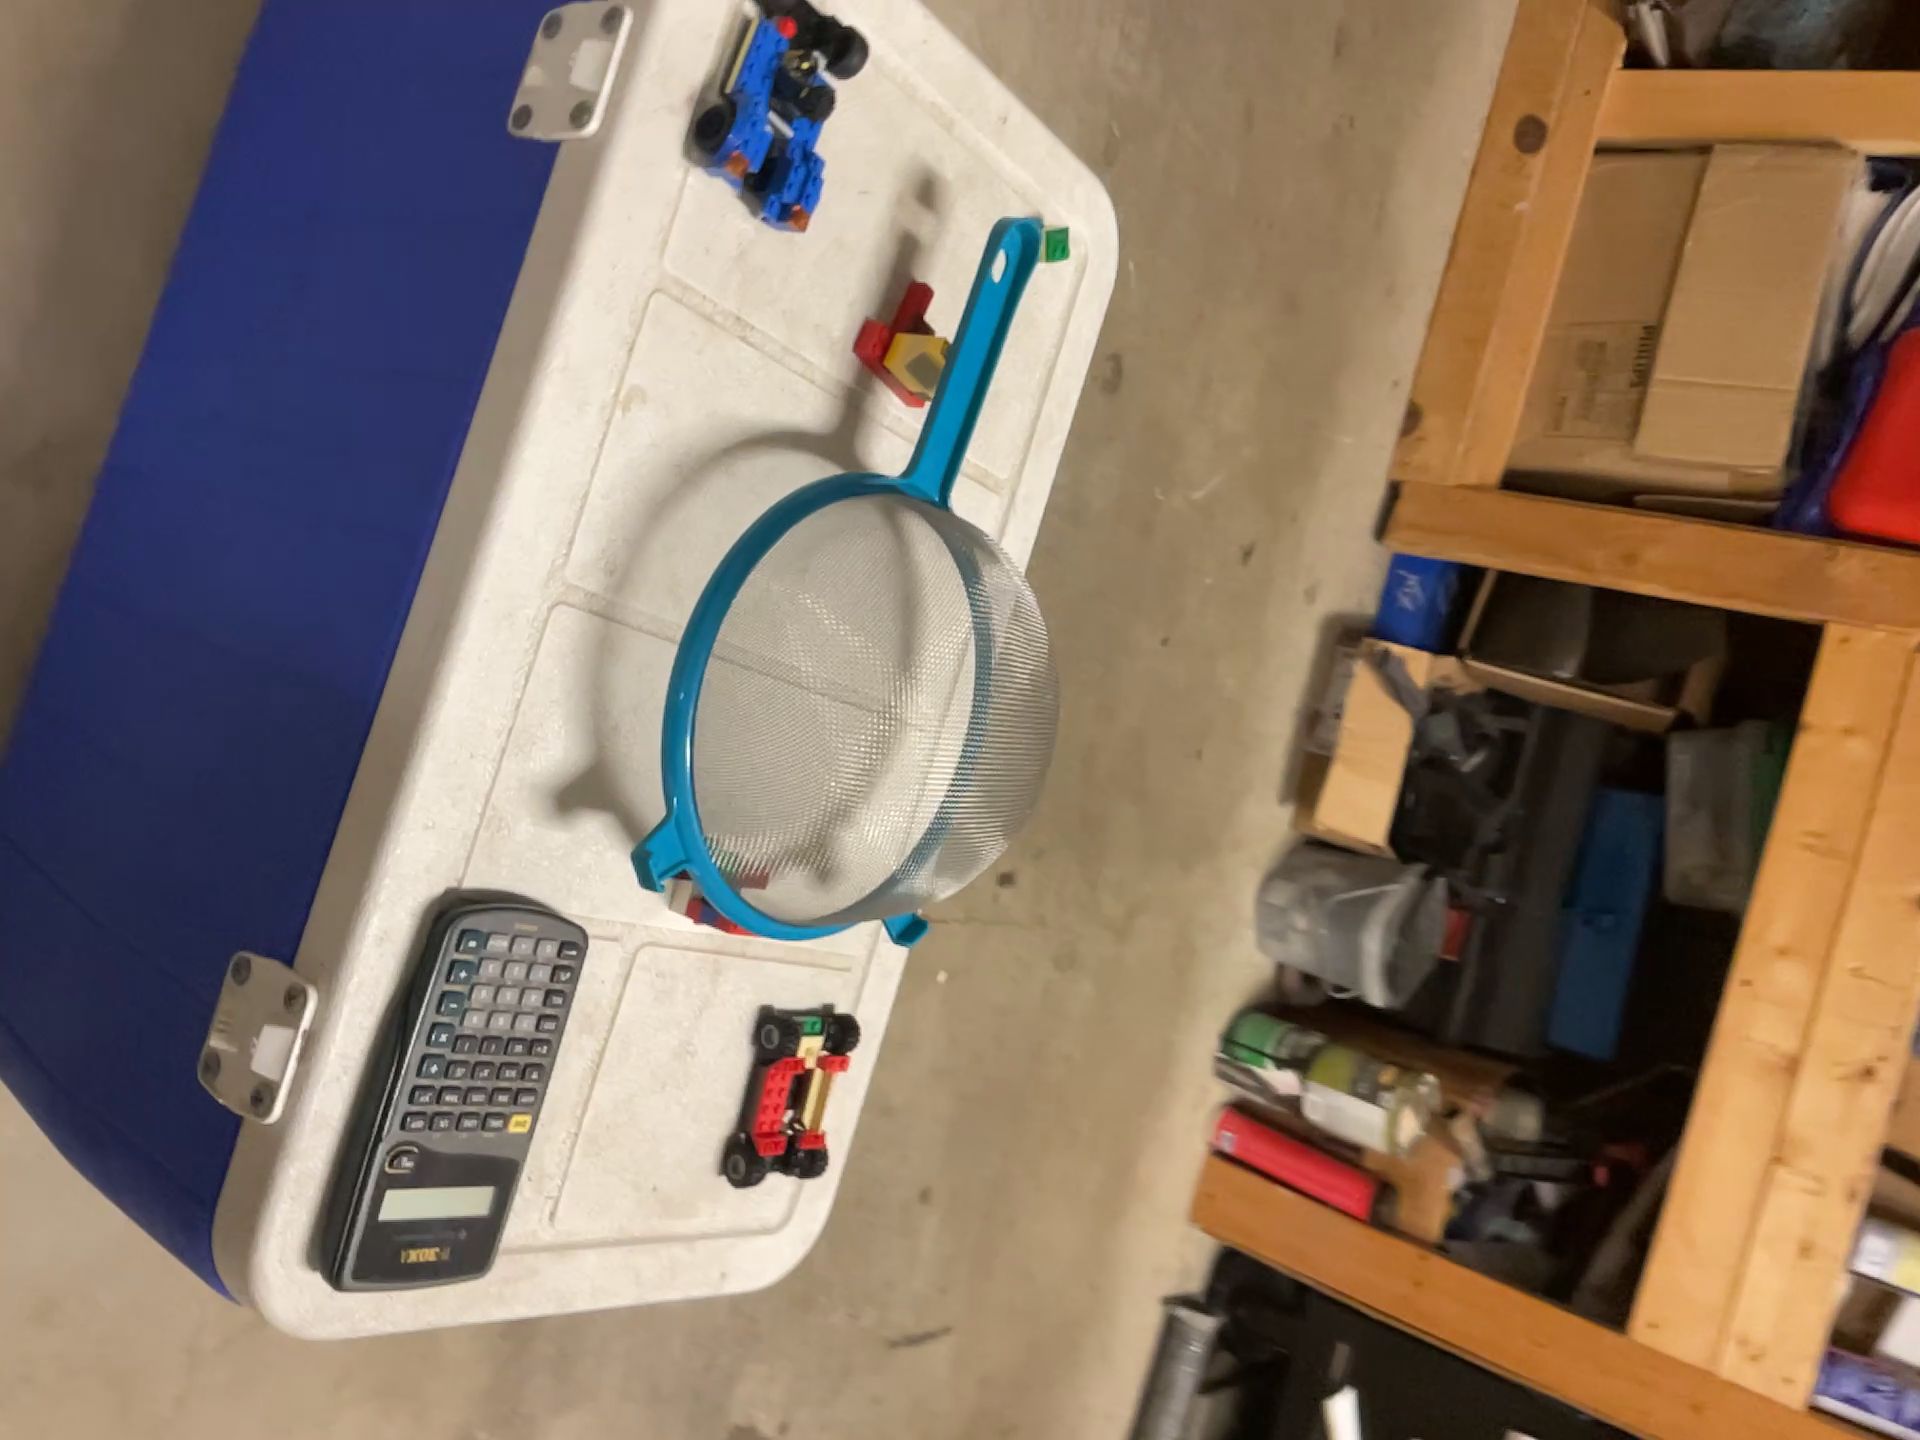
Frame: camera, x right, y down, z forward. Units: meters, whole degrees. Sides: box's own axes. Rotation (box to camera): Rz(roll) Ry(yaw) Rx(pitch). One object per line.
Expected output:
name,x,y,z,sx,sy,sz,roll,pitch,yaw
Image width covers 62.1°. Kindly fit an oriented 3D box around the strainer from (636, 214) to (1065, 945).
strainer,0.002,-0.058,0.689,0.211,0.095,0.340,24,84,-54
